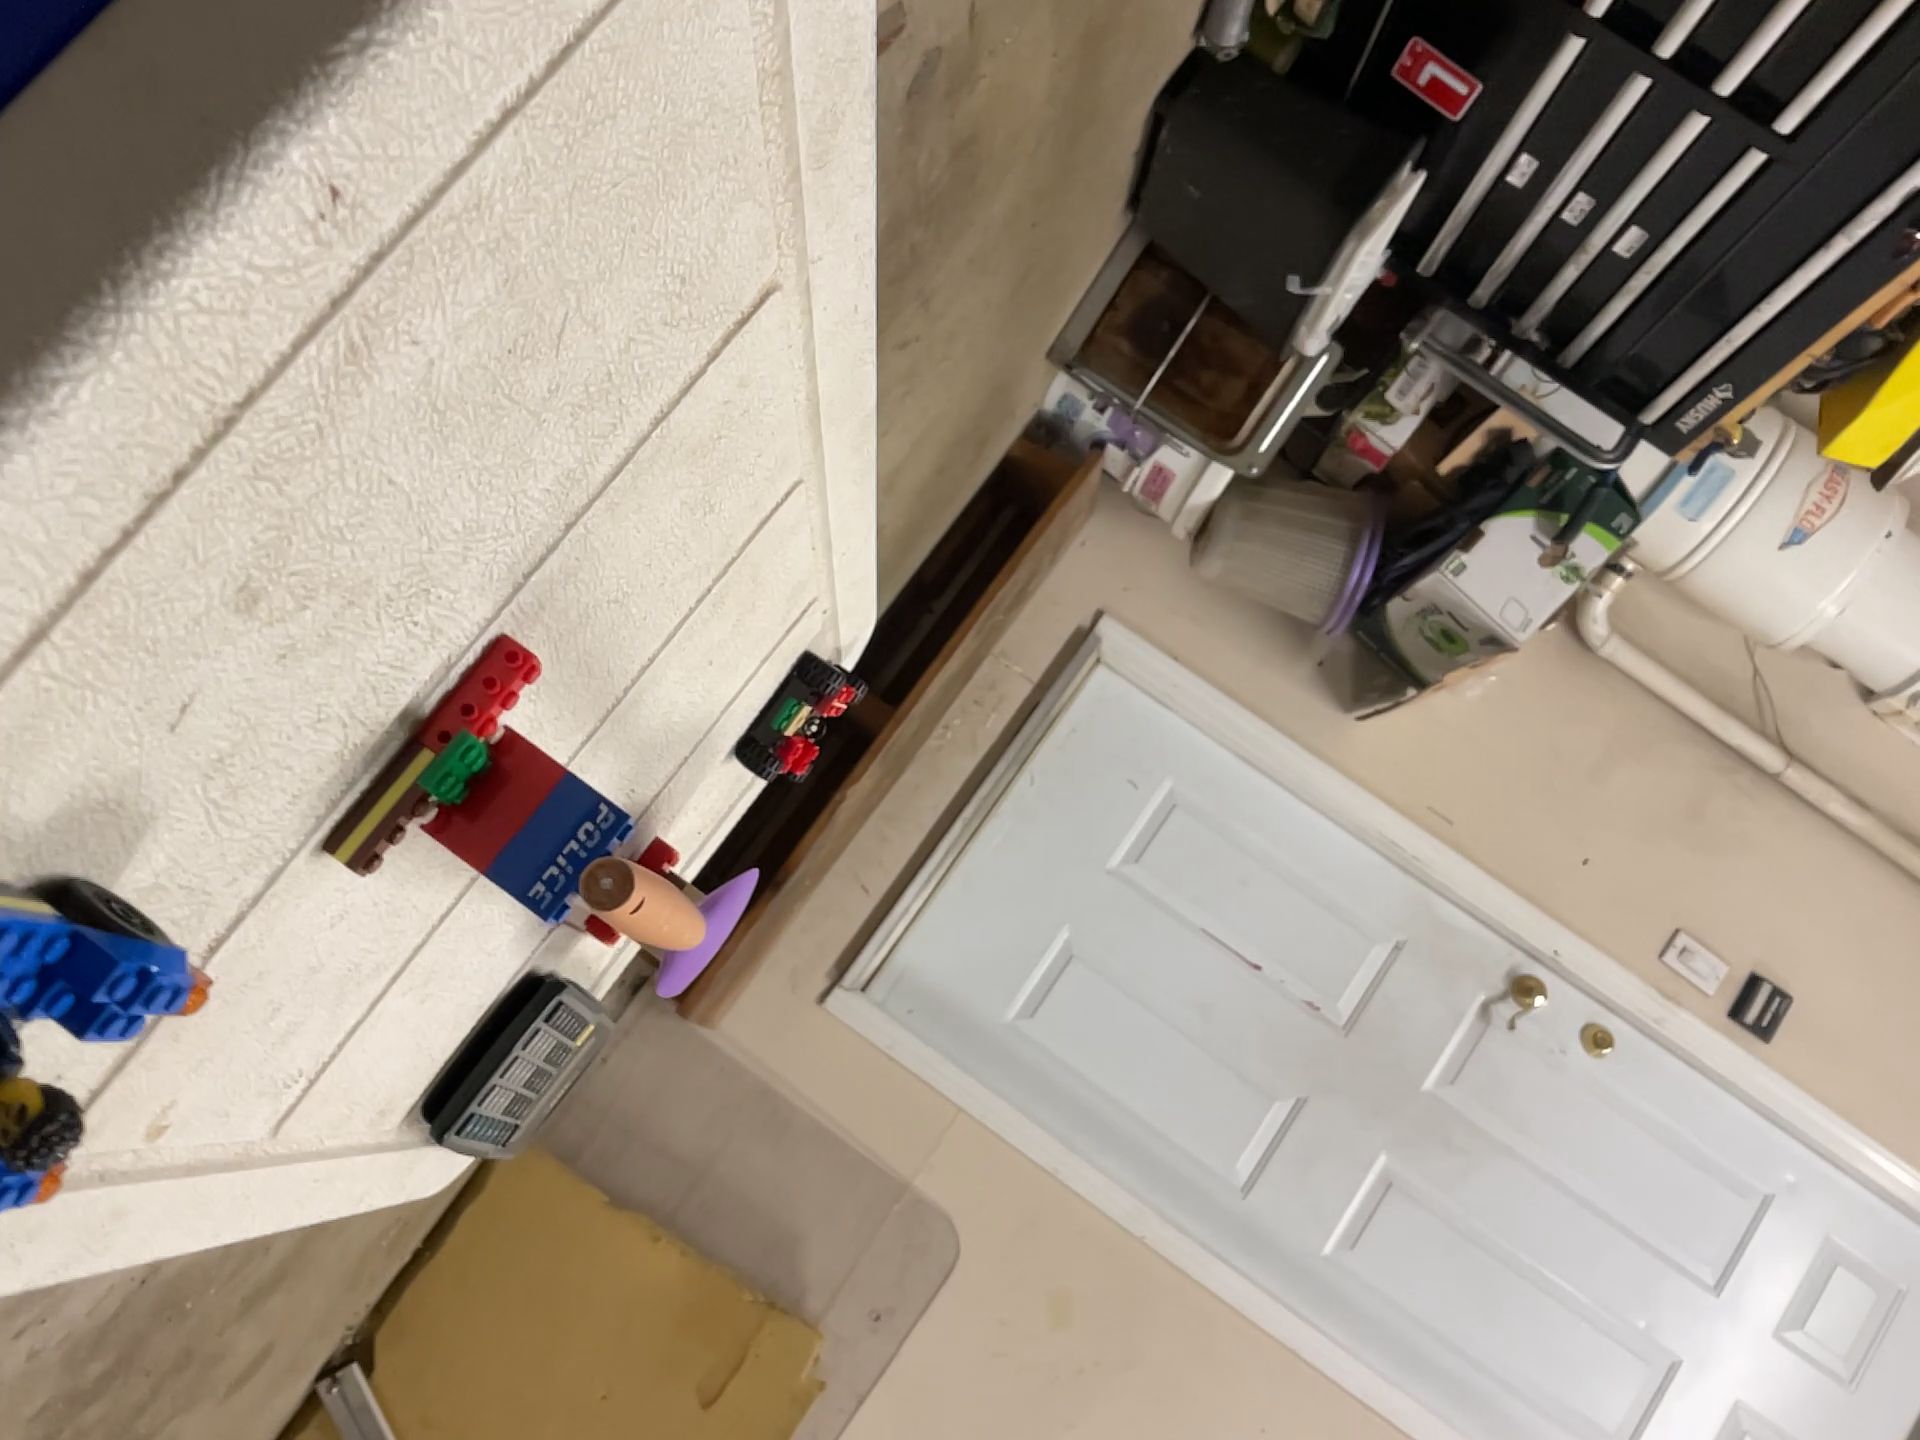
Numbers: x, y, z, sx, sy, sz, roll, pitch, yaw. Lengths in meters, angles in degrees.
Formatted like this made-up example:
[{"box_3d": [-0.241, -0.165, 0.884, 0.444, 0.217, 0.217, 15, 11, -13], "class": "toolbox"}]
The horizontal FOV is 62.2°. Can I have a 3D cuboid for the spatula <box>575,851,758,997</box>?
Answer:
[{"box_3d": [-0.090, 0.063, 0.511, 0.060, 0.018, 0.315, -53, 177, -11], "class": "spatula"}]
